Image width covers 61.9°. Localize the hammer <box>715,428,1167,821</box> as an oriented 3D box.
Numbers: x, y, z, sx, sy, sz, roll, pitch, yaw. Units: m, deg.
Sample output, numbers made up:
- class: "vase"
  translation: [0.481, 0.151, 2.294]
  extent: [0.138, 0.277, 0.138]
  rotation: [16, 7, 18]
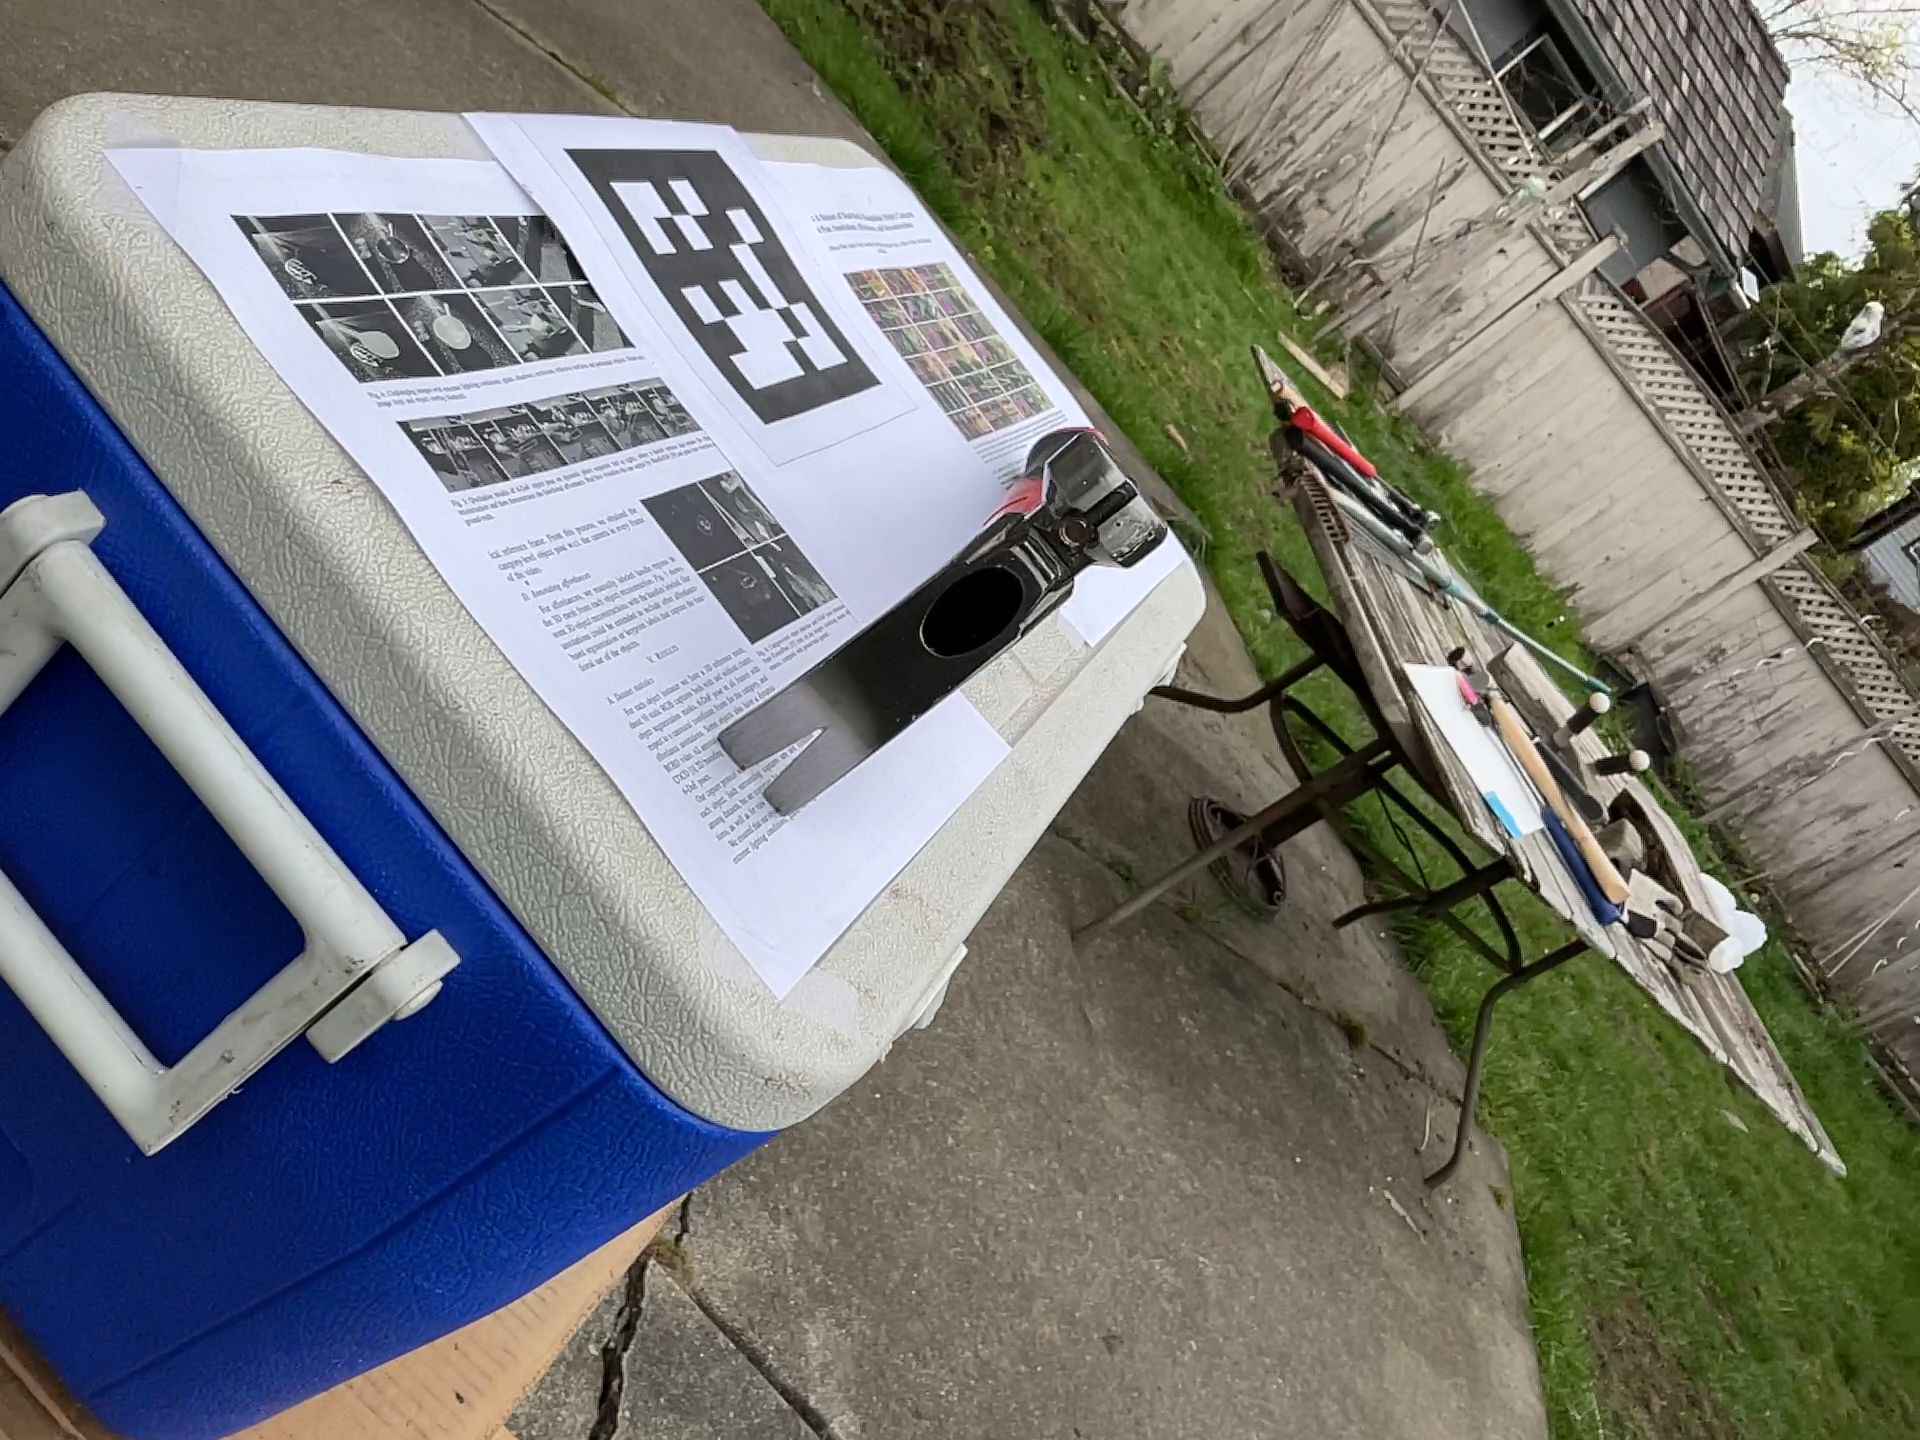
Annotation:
- class: "hammer"
  translation: [0.013, -0.067, 0.625]
  extent: [0.038, 0.143, 0.386]
  rotation: [51, 14, -7]
